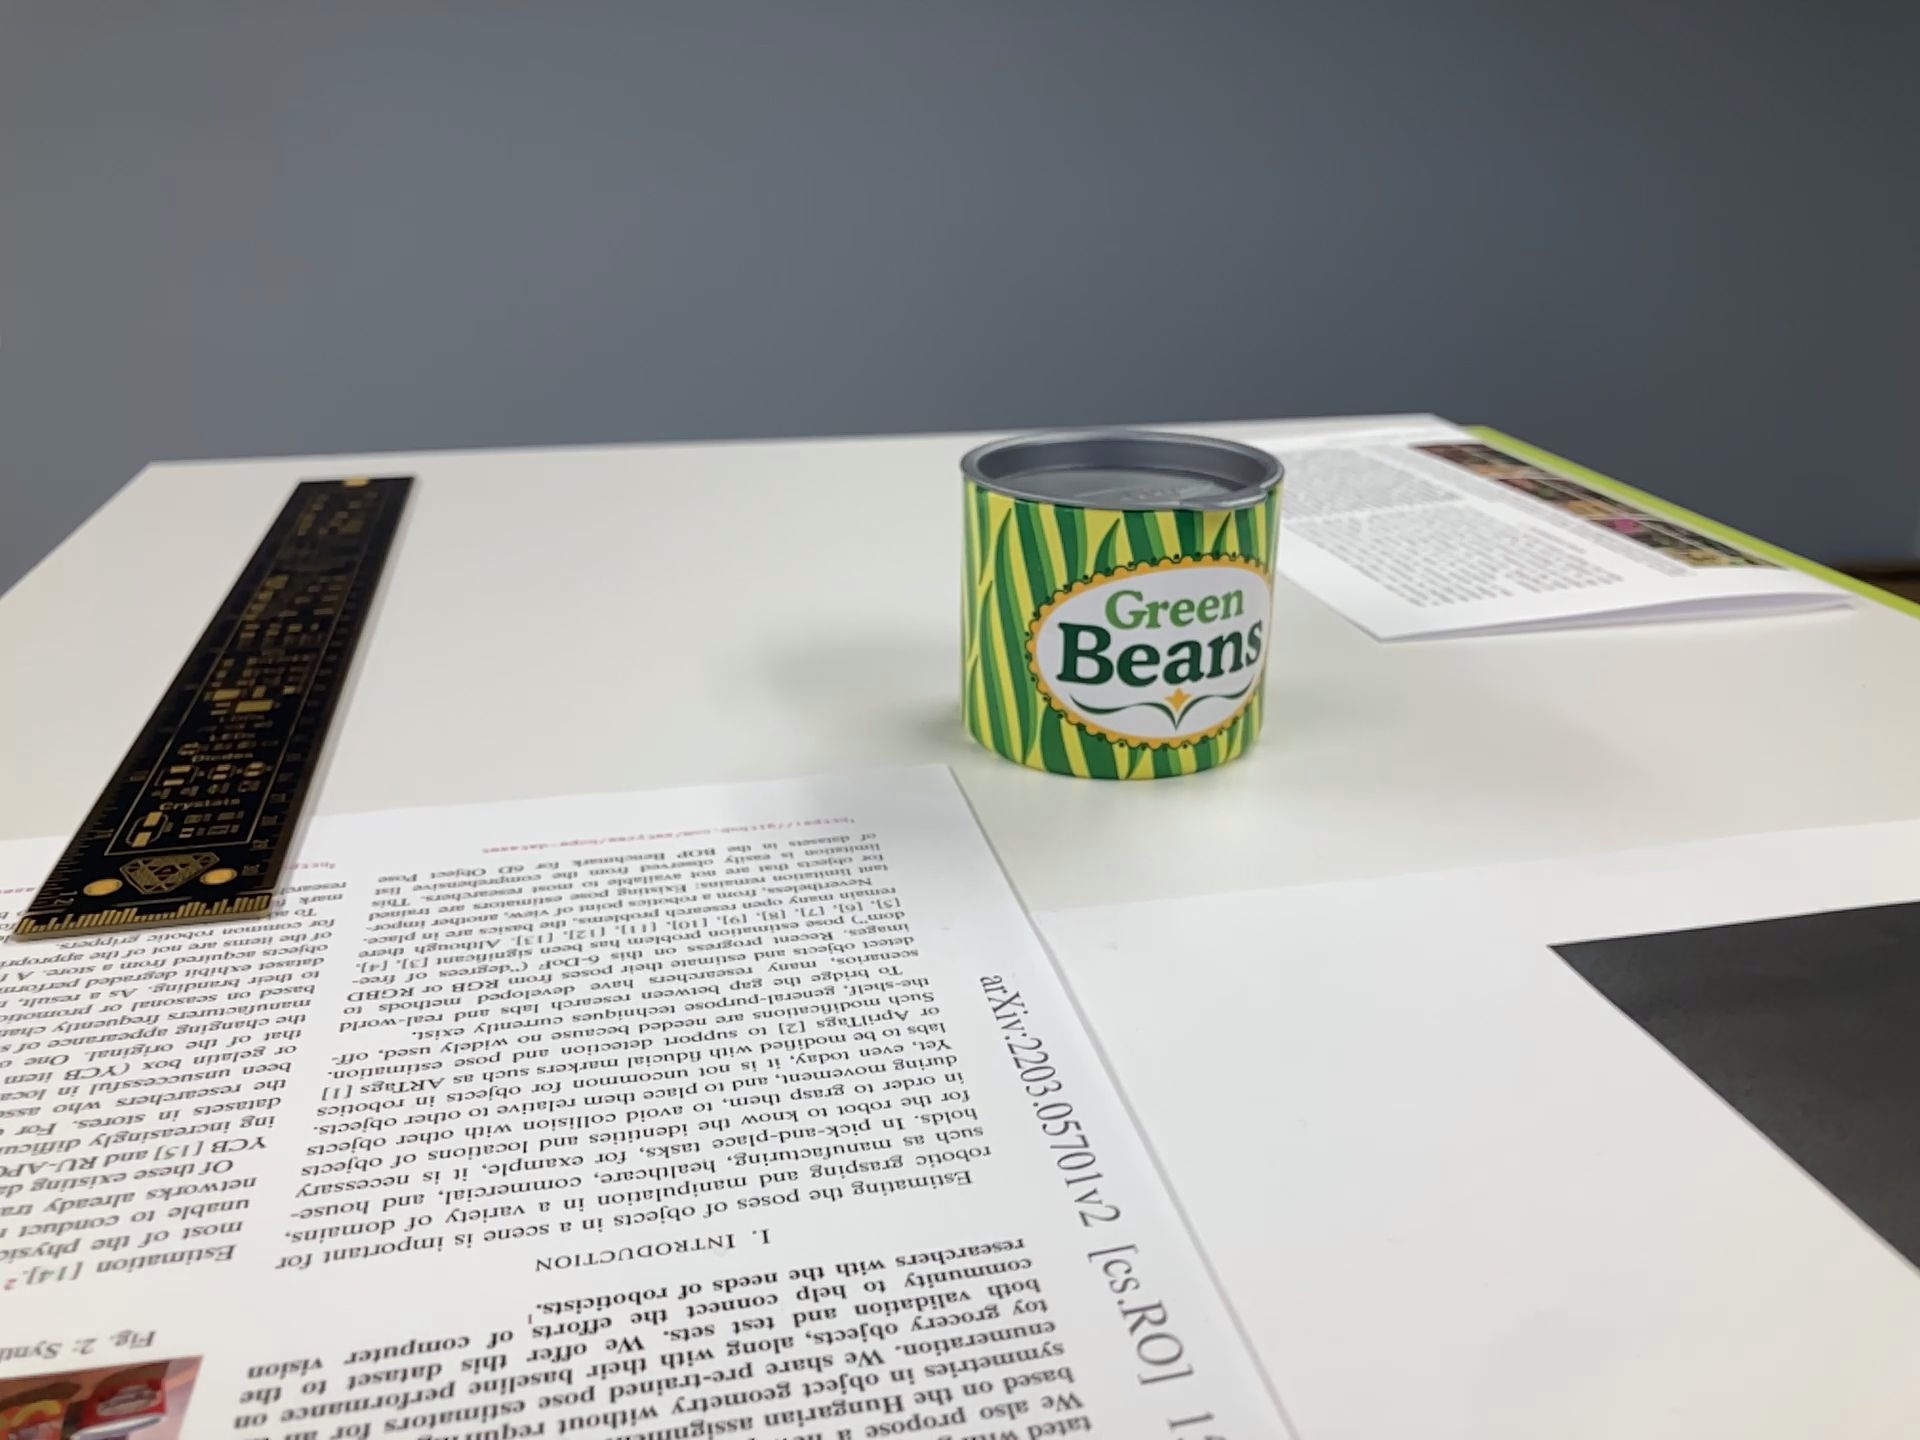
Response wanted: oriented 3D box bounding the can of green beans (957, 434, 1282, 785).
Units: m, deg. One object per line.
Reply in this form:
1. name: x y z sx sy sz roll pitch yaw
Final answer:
1. can of green beans: 0.032 -0.025 0.338 0.071 0.058 0.071 0 21 0
